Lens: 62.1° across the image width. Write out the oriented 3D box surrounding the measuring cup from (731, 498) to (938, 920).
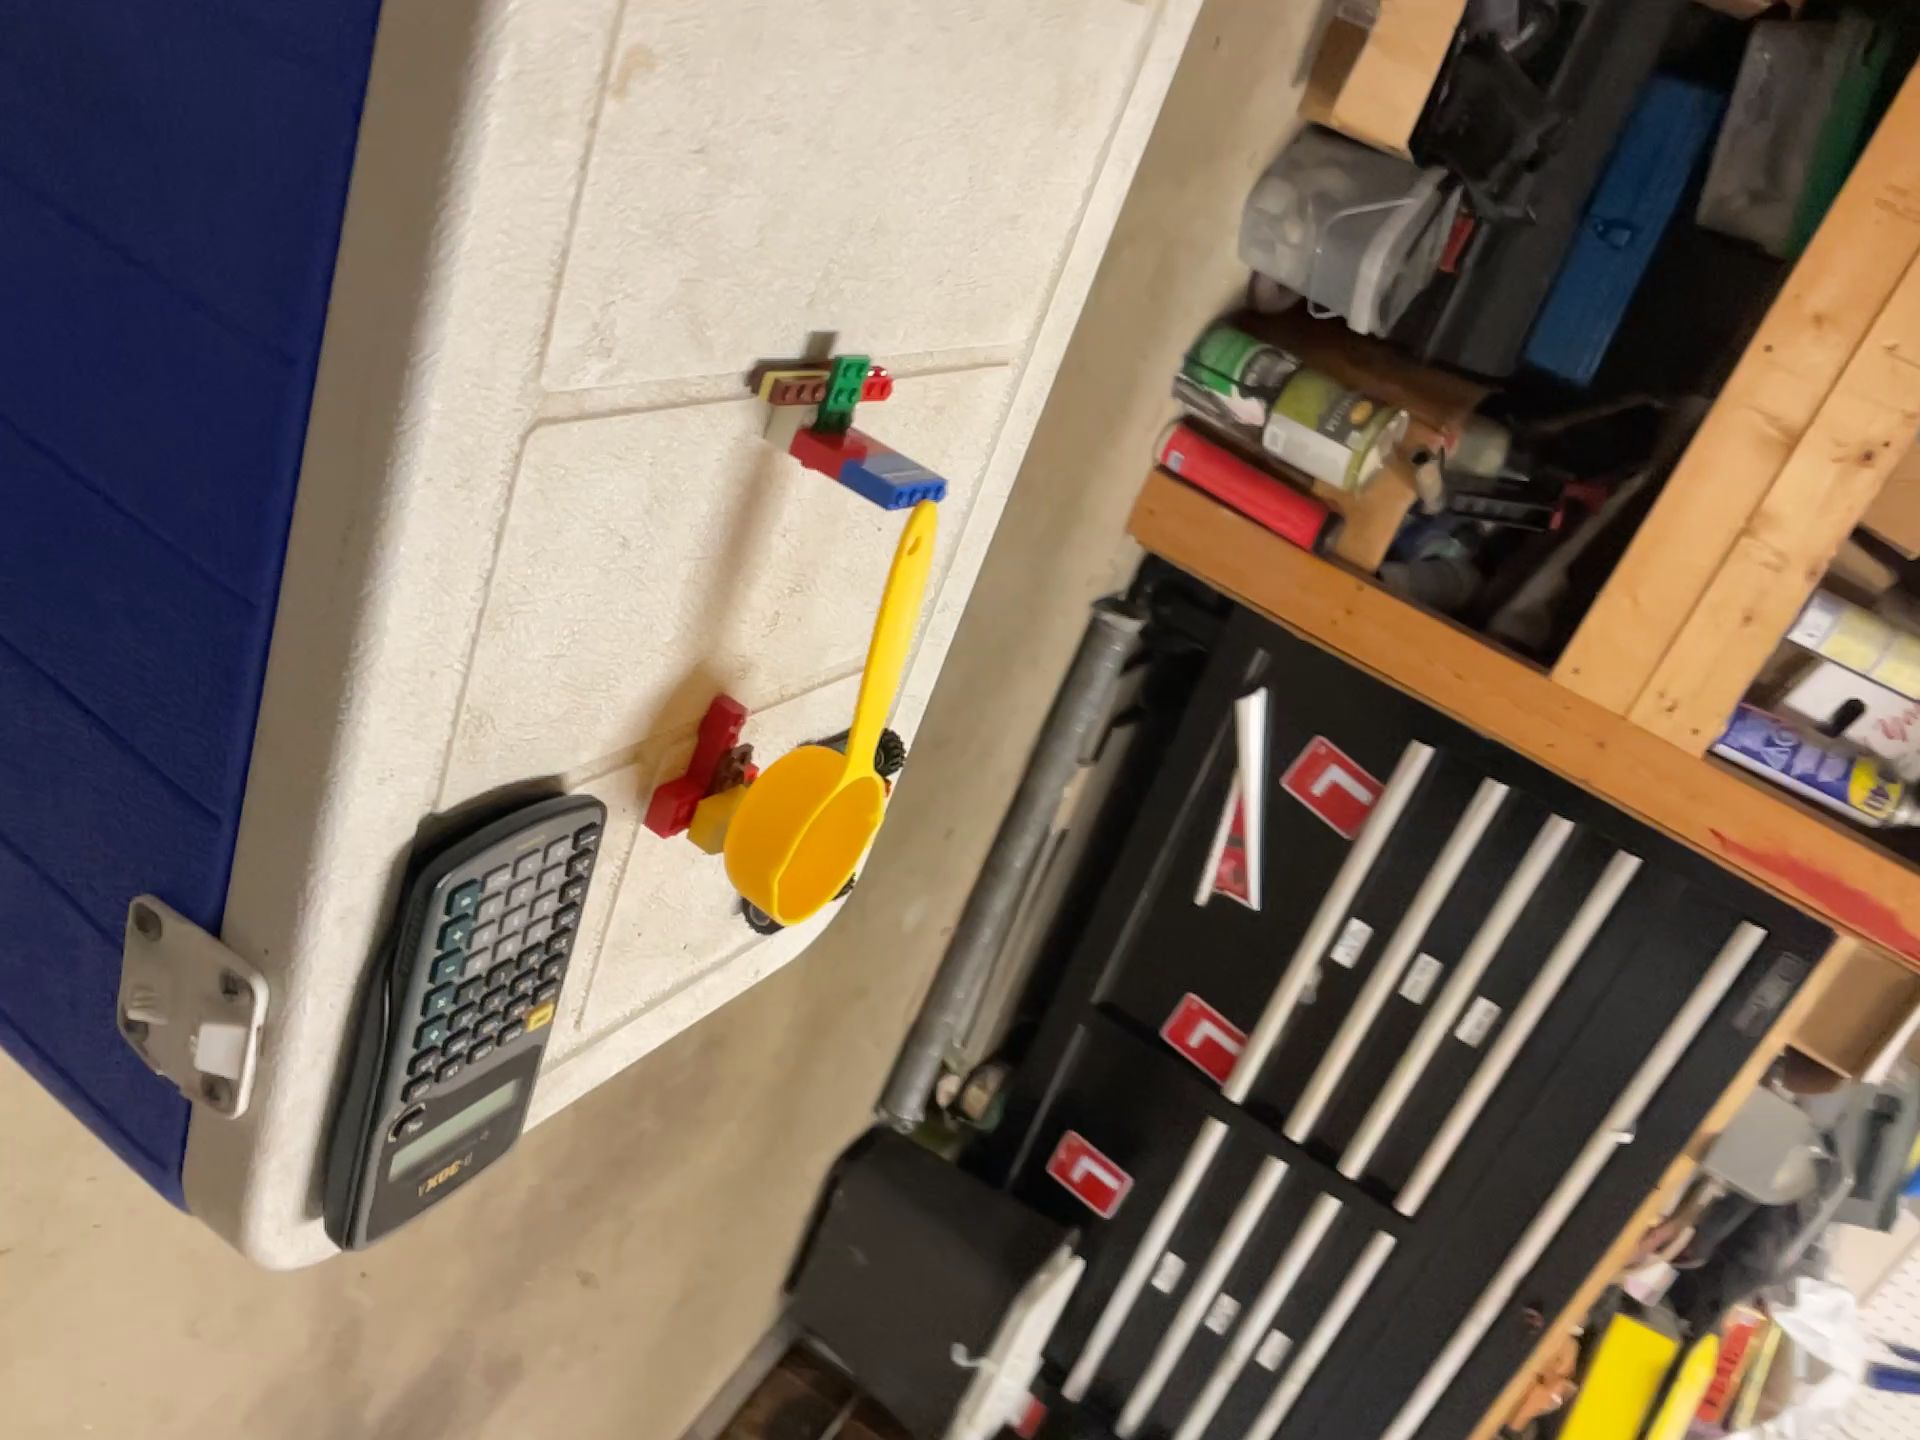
[{"bbox_3d":[-0.040,-0.005,0.525,0.062,0.029,0.156,-27,140,-57],"label":"measuring cup"}]
